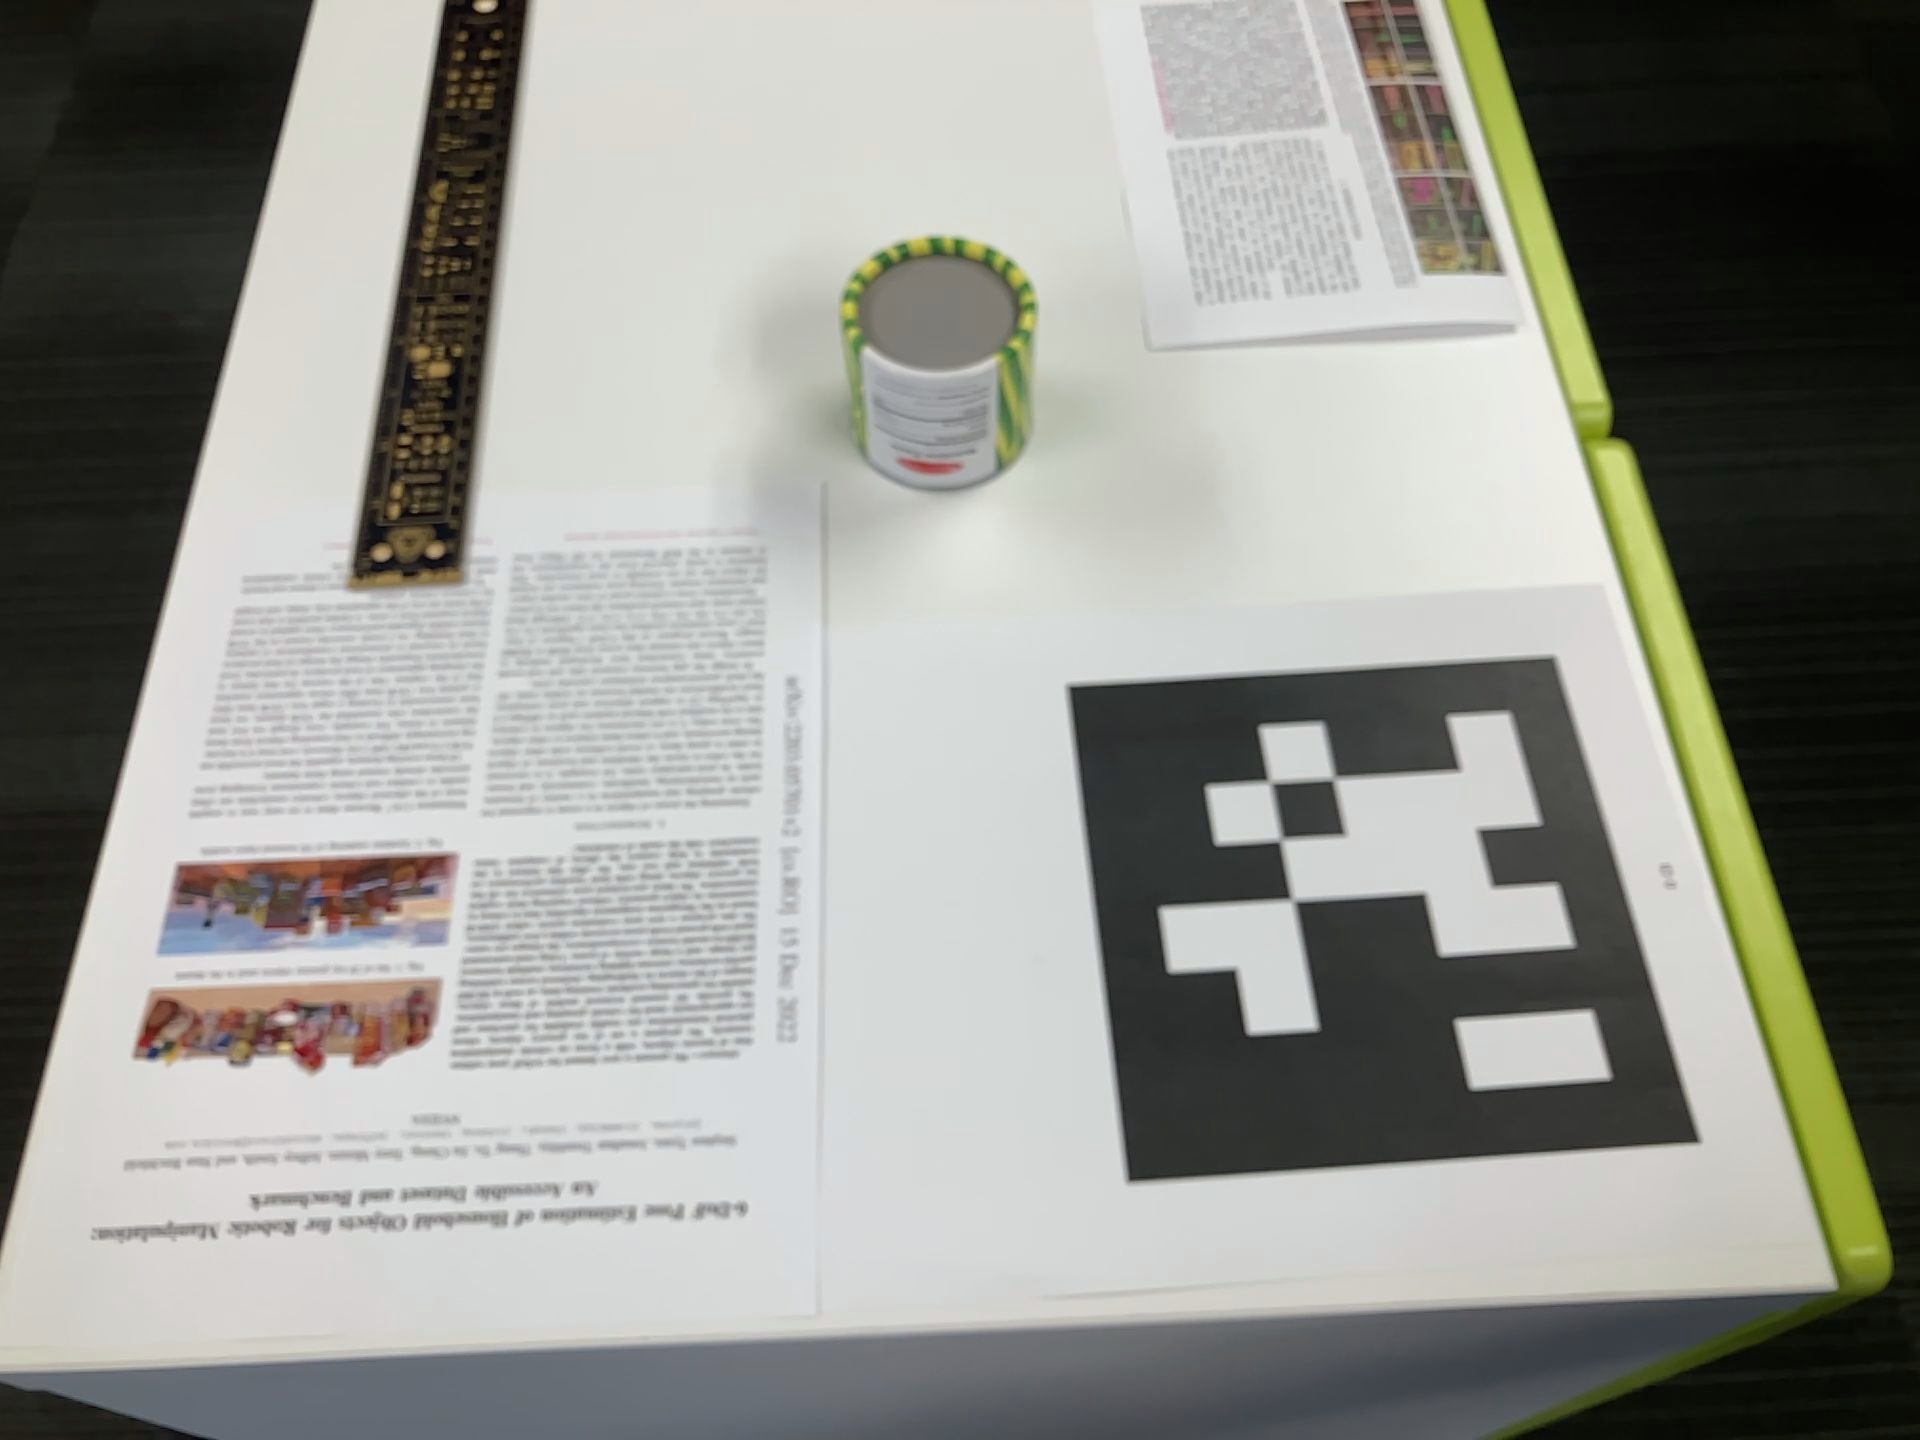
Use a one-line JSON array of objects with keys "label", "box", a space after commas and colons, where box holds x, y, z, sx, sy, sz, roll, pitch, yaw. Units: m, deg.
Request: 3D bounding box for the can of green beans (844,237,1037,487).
[{"label": "can of green beans", "box": [-0.006, -0.126, 0.563, 0.071, 0.058, 0.071, 0, 60, 1]}]
